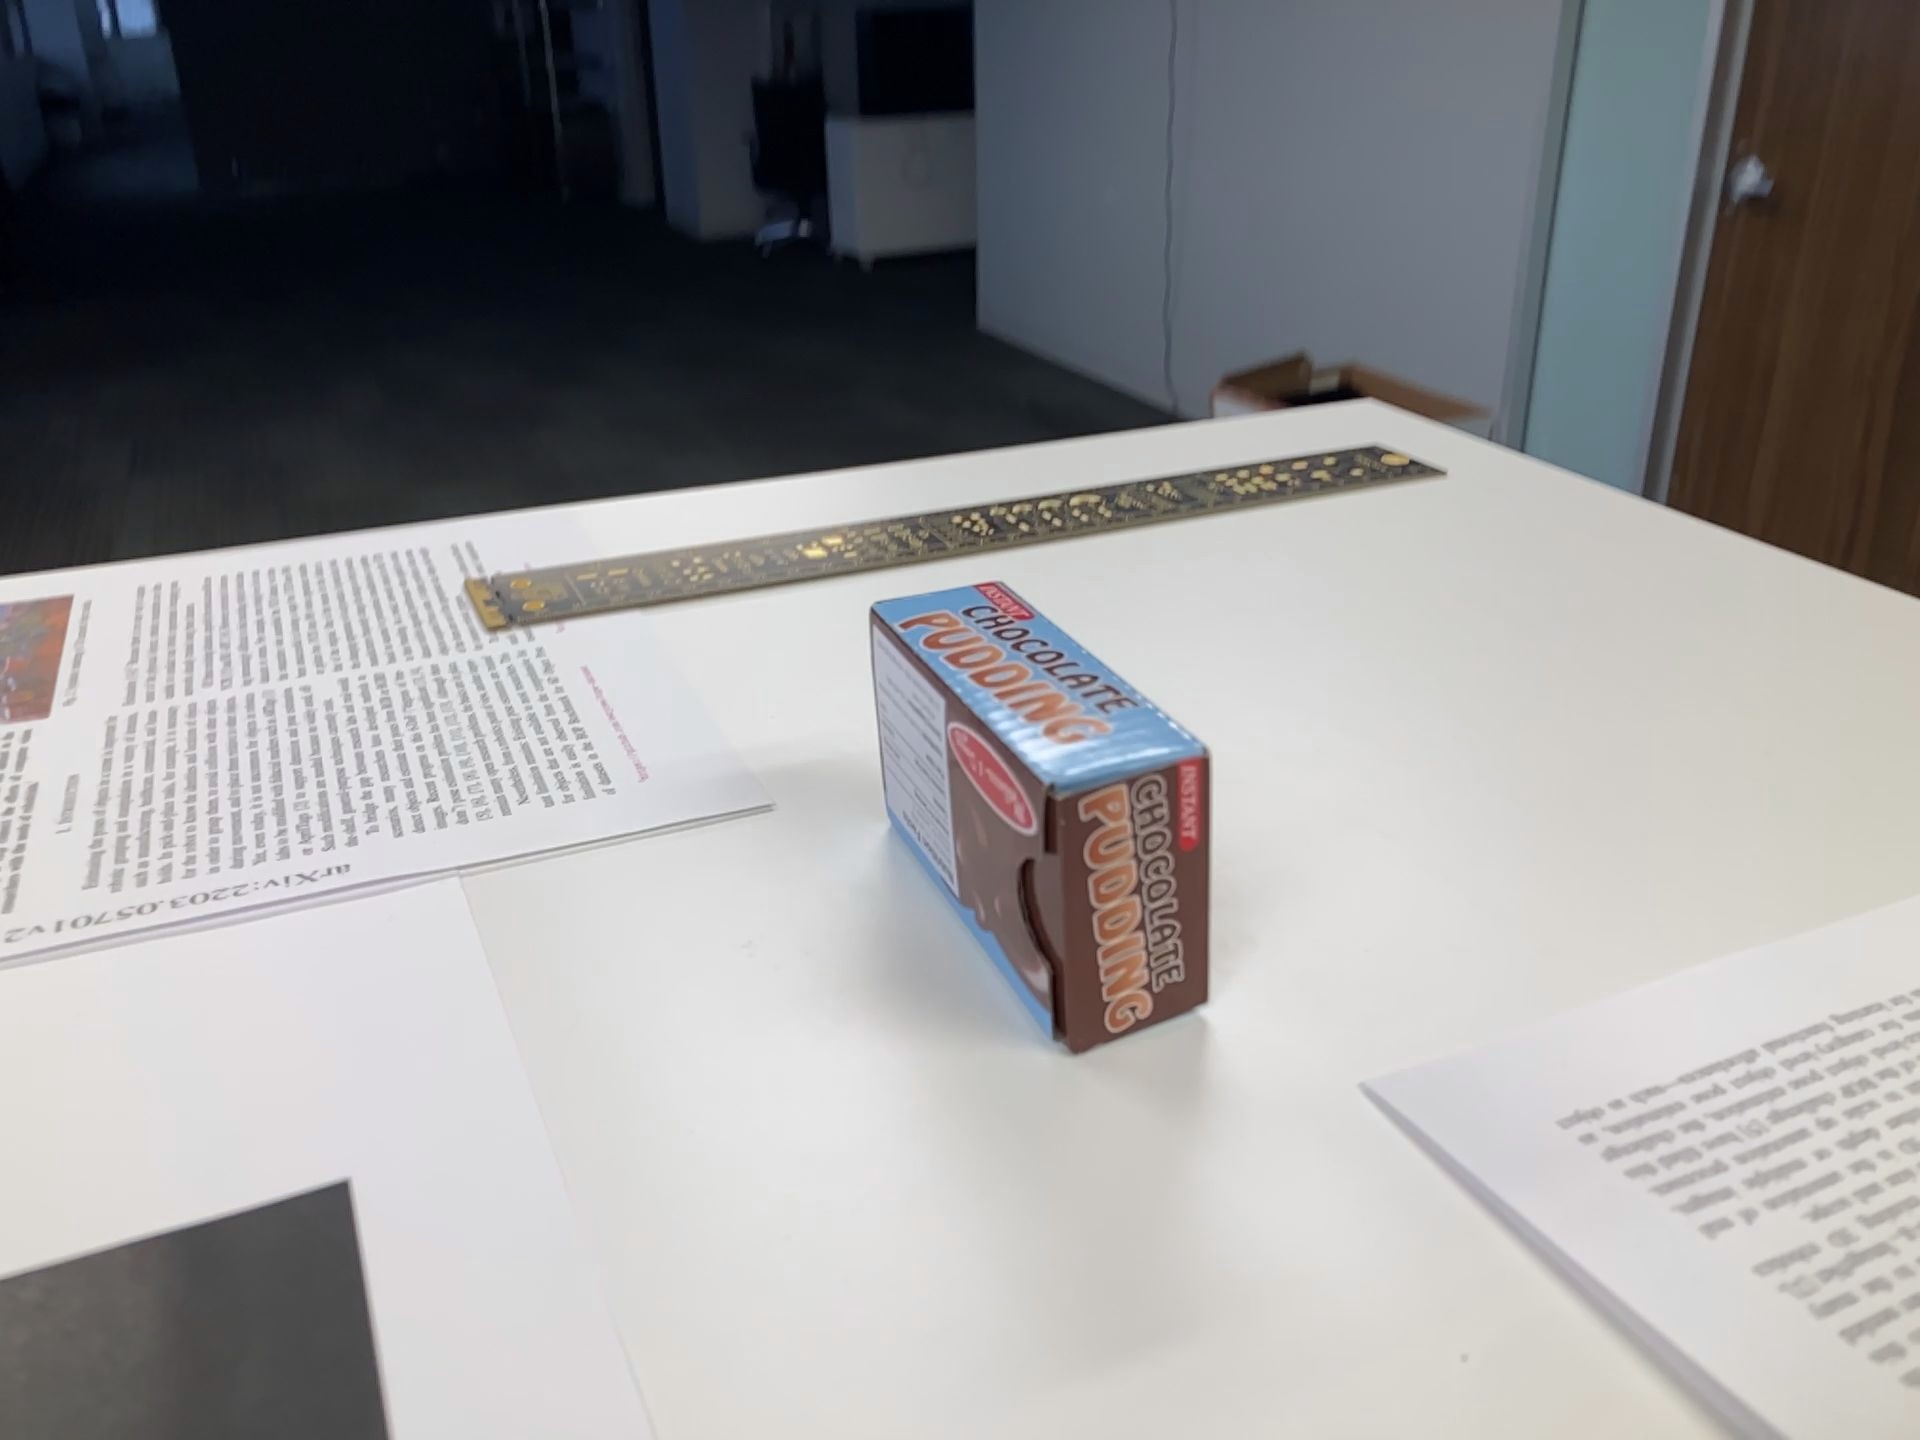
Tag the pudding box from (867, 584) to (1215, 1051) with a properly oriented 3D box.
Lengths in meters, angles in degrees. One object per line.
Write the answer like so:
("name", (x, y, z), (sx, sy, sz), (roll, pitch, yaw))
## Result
("pudding box", (0.012, 0.013, 0.280), (0.030, 0.049, 0.083), (-13, 28, -19))
